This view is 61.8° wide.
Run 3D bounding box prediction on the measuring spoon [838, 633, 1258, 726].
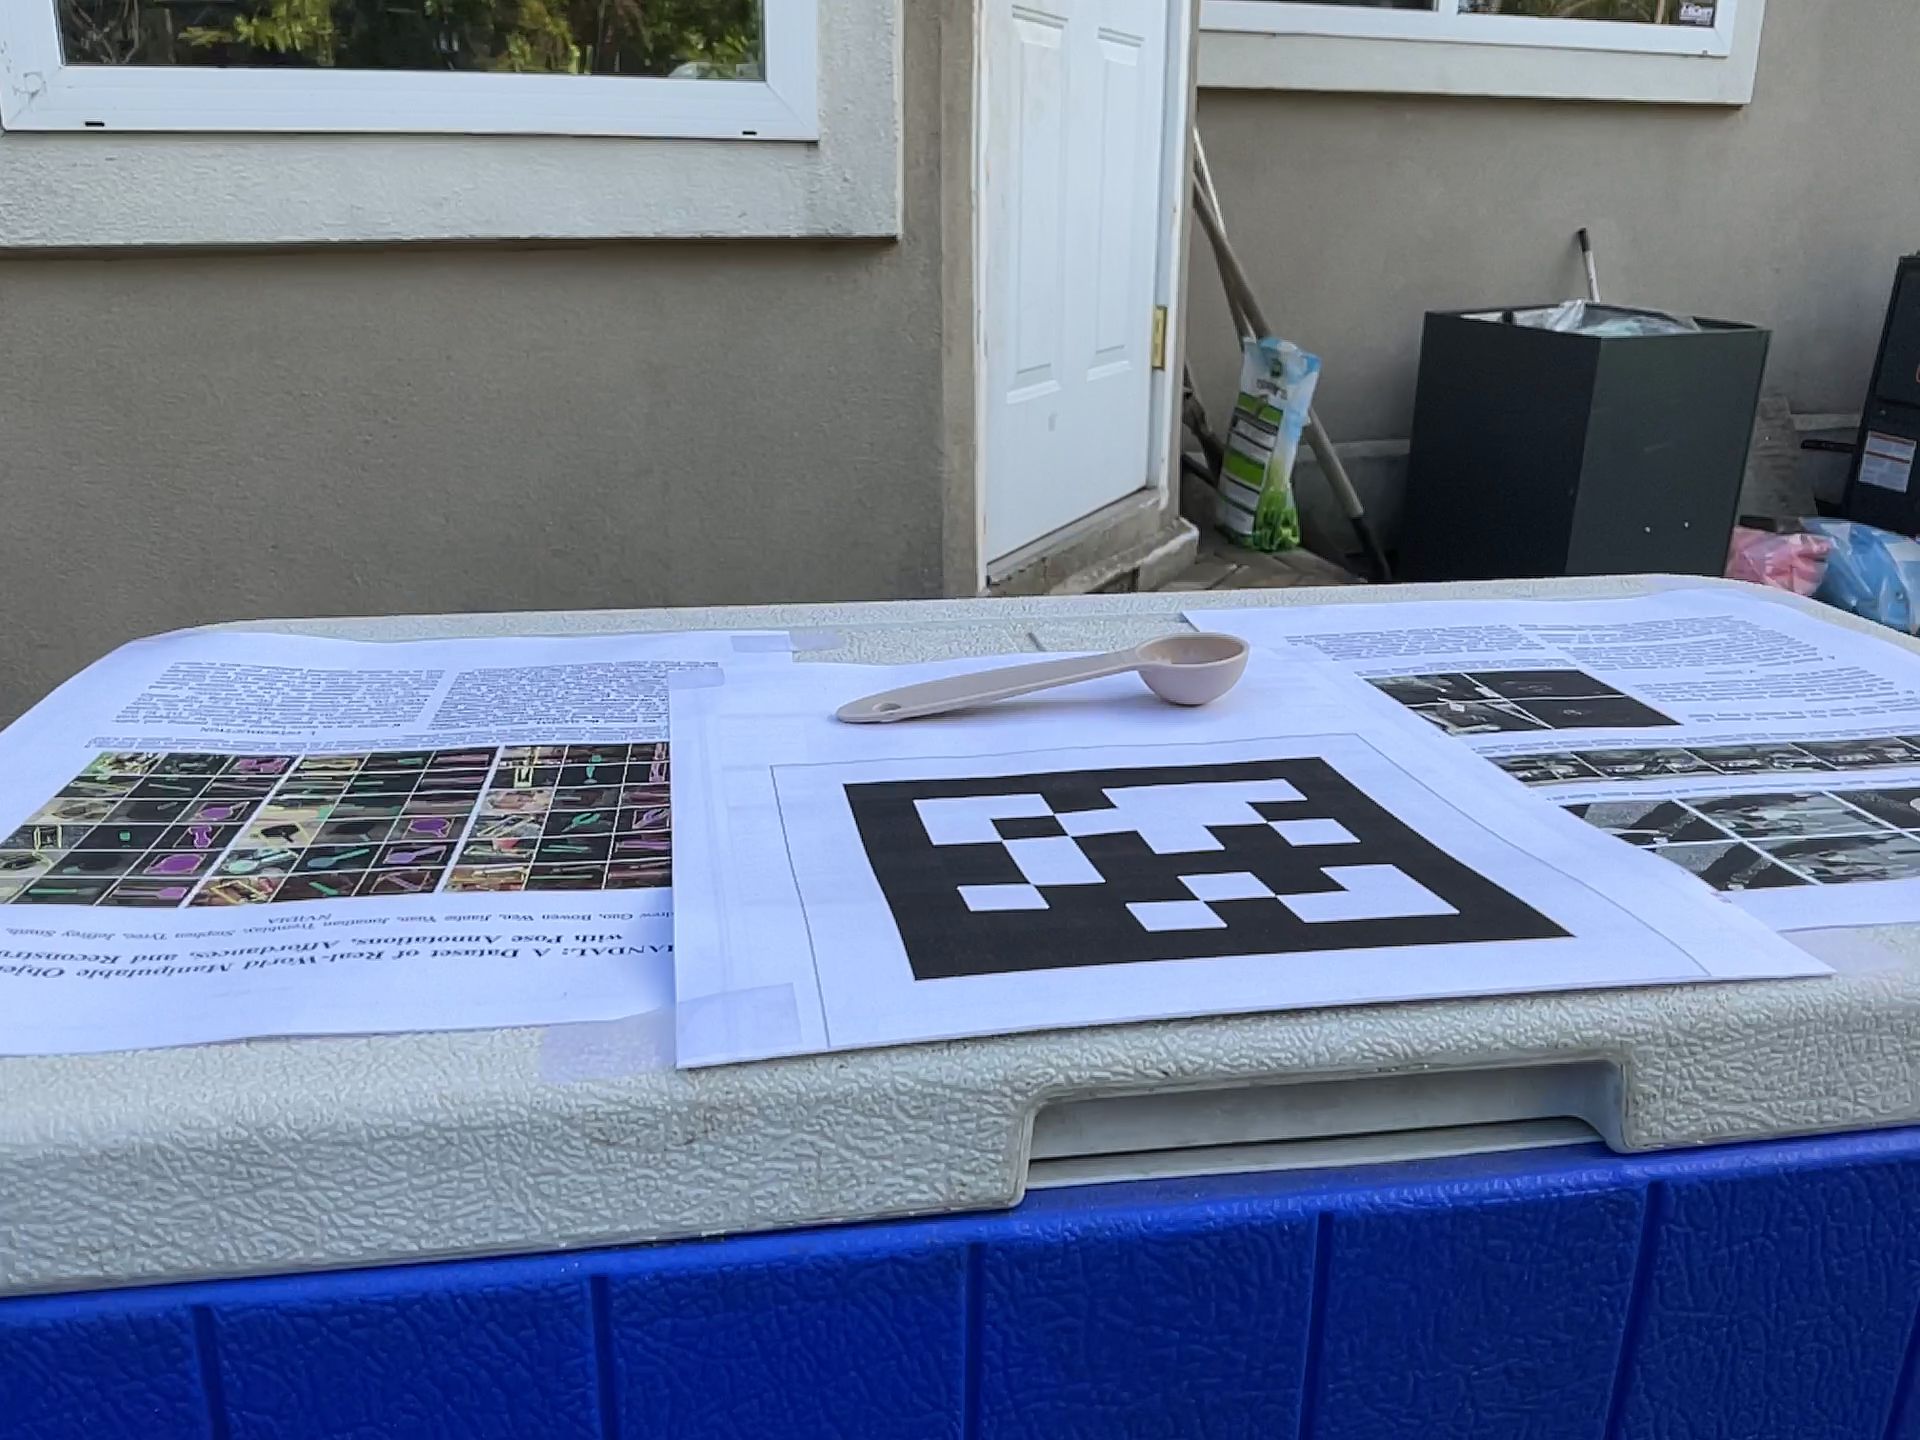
[{"bbox_3d":[0.026,-0.006,0.467,0.124,0.018,0.034,-9,20,-7],"label":"measuring spoon"}]
